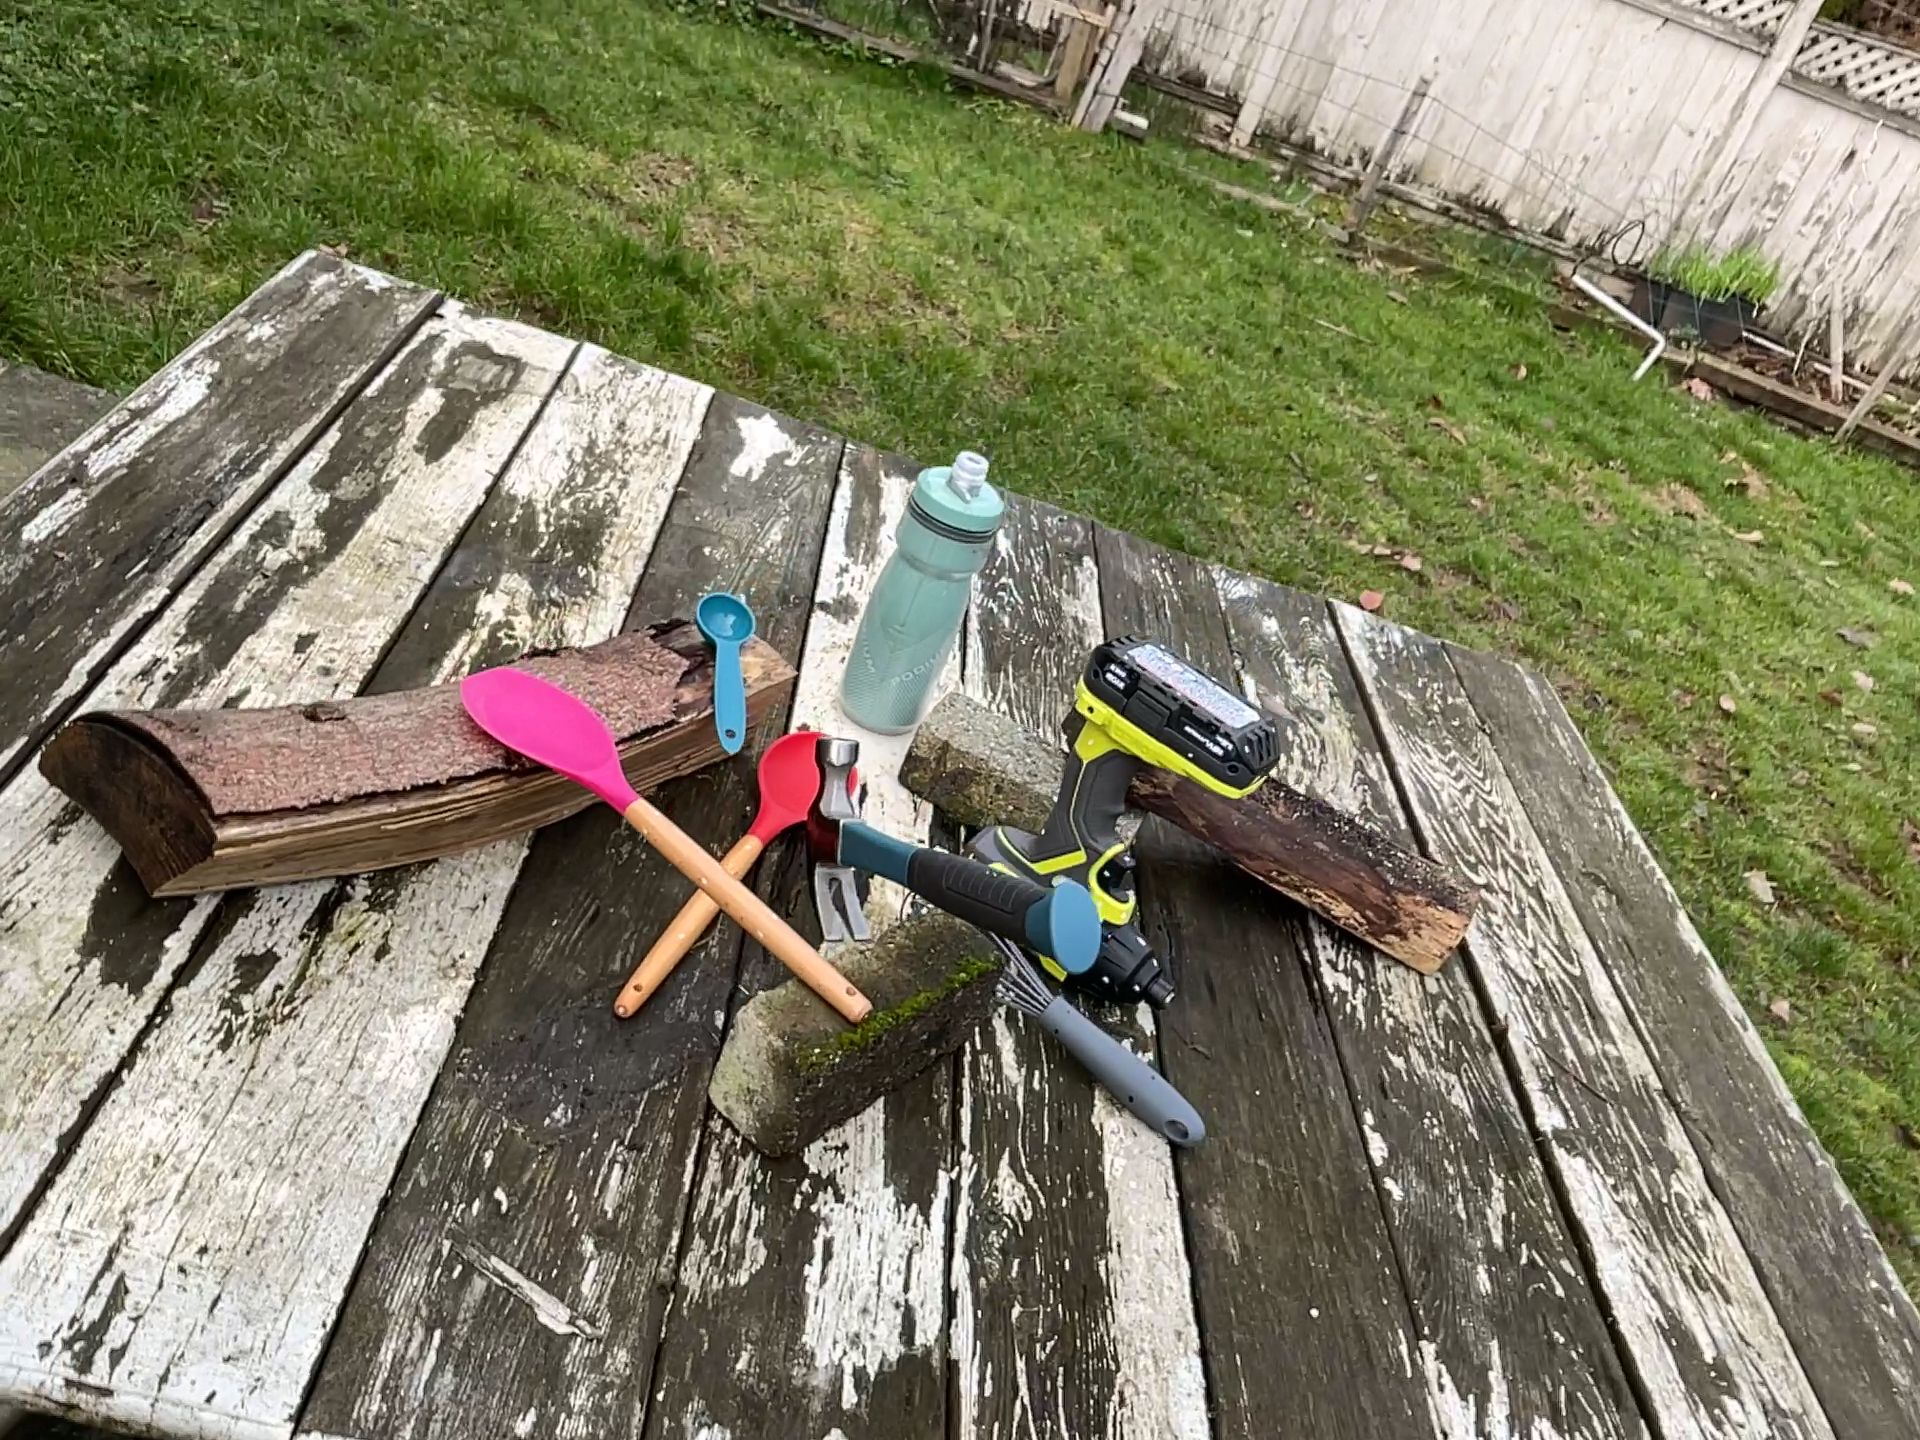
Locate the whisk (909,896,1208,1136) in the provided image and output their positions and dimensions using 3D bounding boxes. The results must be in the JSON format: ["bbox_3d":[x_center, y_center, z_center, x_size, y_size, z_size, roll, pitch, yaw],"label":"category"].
[{"bbox_3d":[0.060,0.184,1.015,0.239,0.055,0.055,37,41,16],"label":"whisk"}]

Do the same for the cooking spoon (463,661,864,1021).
[{"bbox_3d":[-0.173,0.064,0.919,0.319,0.017,0.068,39,33,18],"label":"cooking spoon"}]

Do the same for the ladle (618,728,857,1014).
[{"bbox_3d":[-0.146,0.094,1.051,0.069,0.031,0.315,28,33,4],"label":"ladle"}]

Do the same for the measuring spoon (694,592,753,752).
[{"bbox_3d":[-0.161,-0.030,1.084,0.042,0.021,0.129,7,55,-25],"label":"measuring spoon"}]

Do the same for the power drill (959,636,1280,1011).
[{"bbox_3d":[0.109,0.073,1.059,0.171,0.223,0.080,36,25,18],"label":"power drill"}]

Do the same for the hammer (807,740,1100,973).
[{"bbox_3d":[-0.017,0.091,0.944,0.033,0.128,0.331,2,4,-28],"label":"hammer"}]
